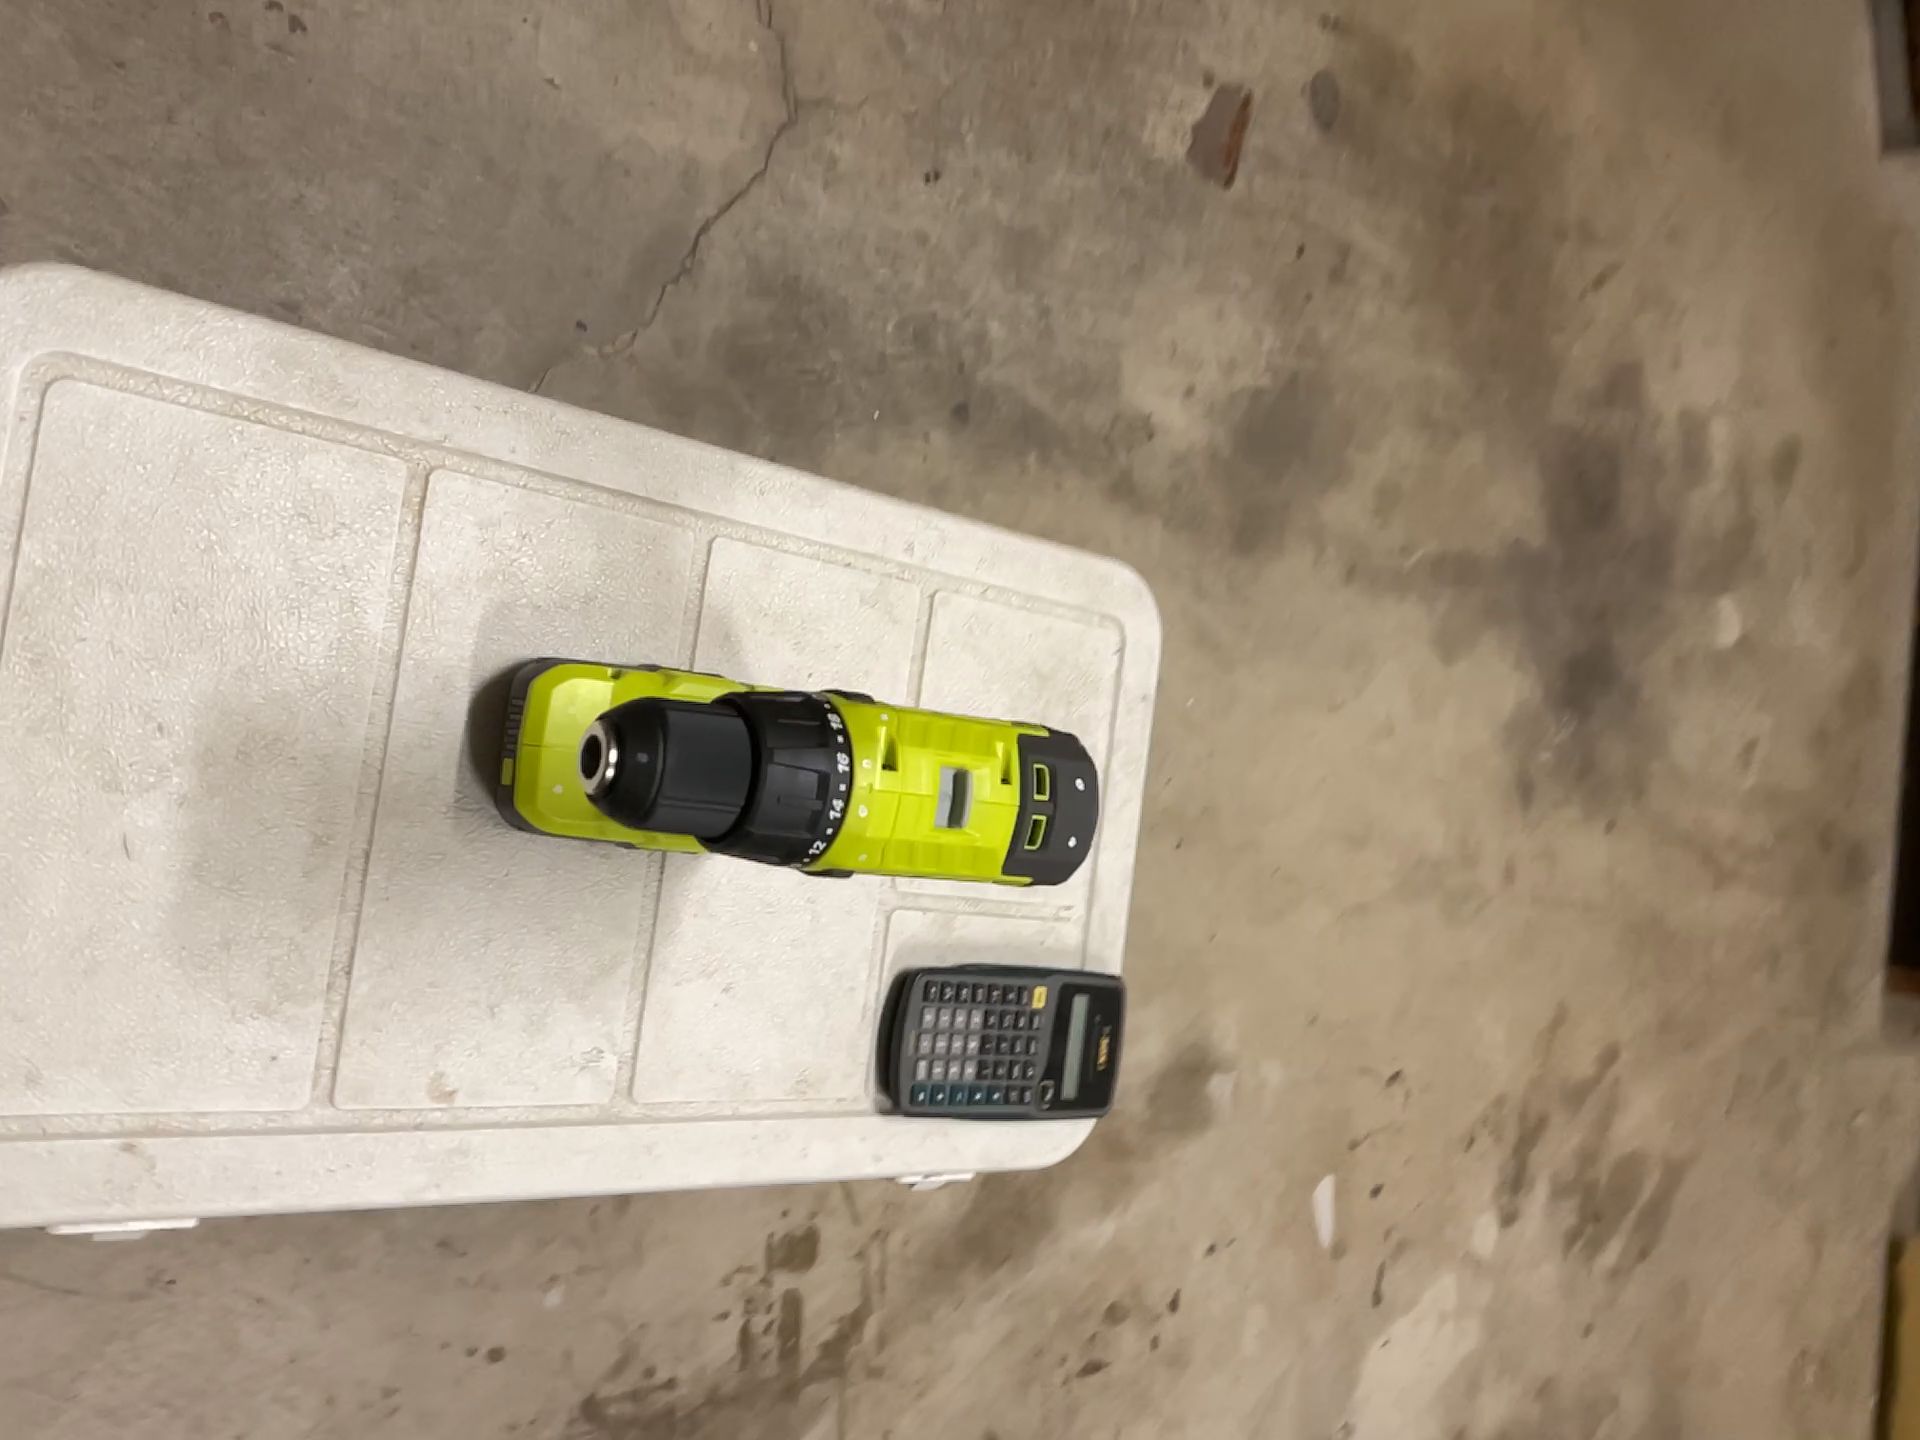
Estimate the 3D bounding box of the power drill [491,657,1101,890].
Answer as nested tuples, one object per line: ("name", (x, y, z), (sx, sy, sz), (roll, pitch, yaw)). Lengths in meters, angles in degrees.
("power drill", (-0.087, 0.018, 0.600), (0.190, 0.228, 0.080), (8, 87, -37))
